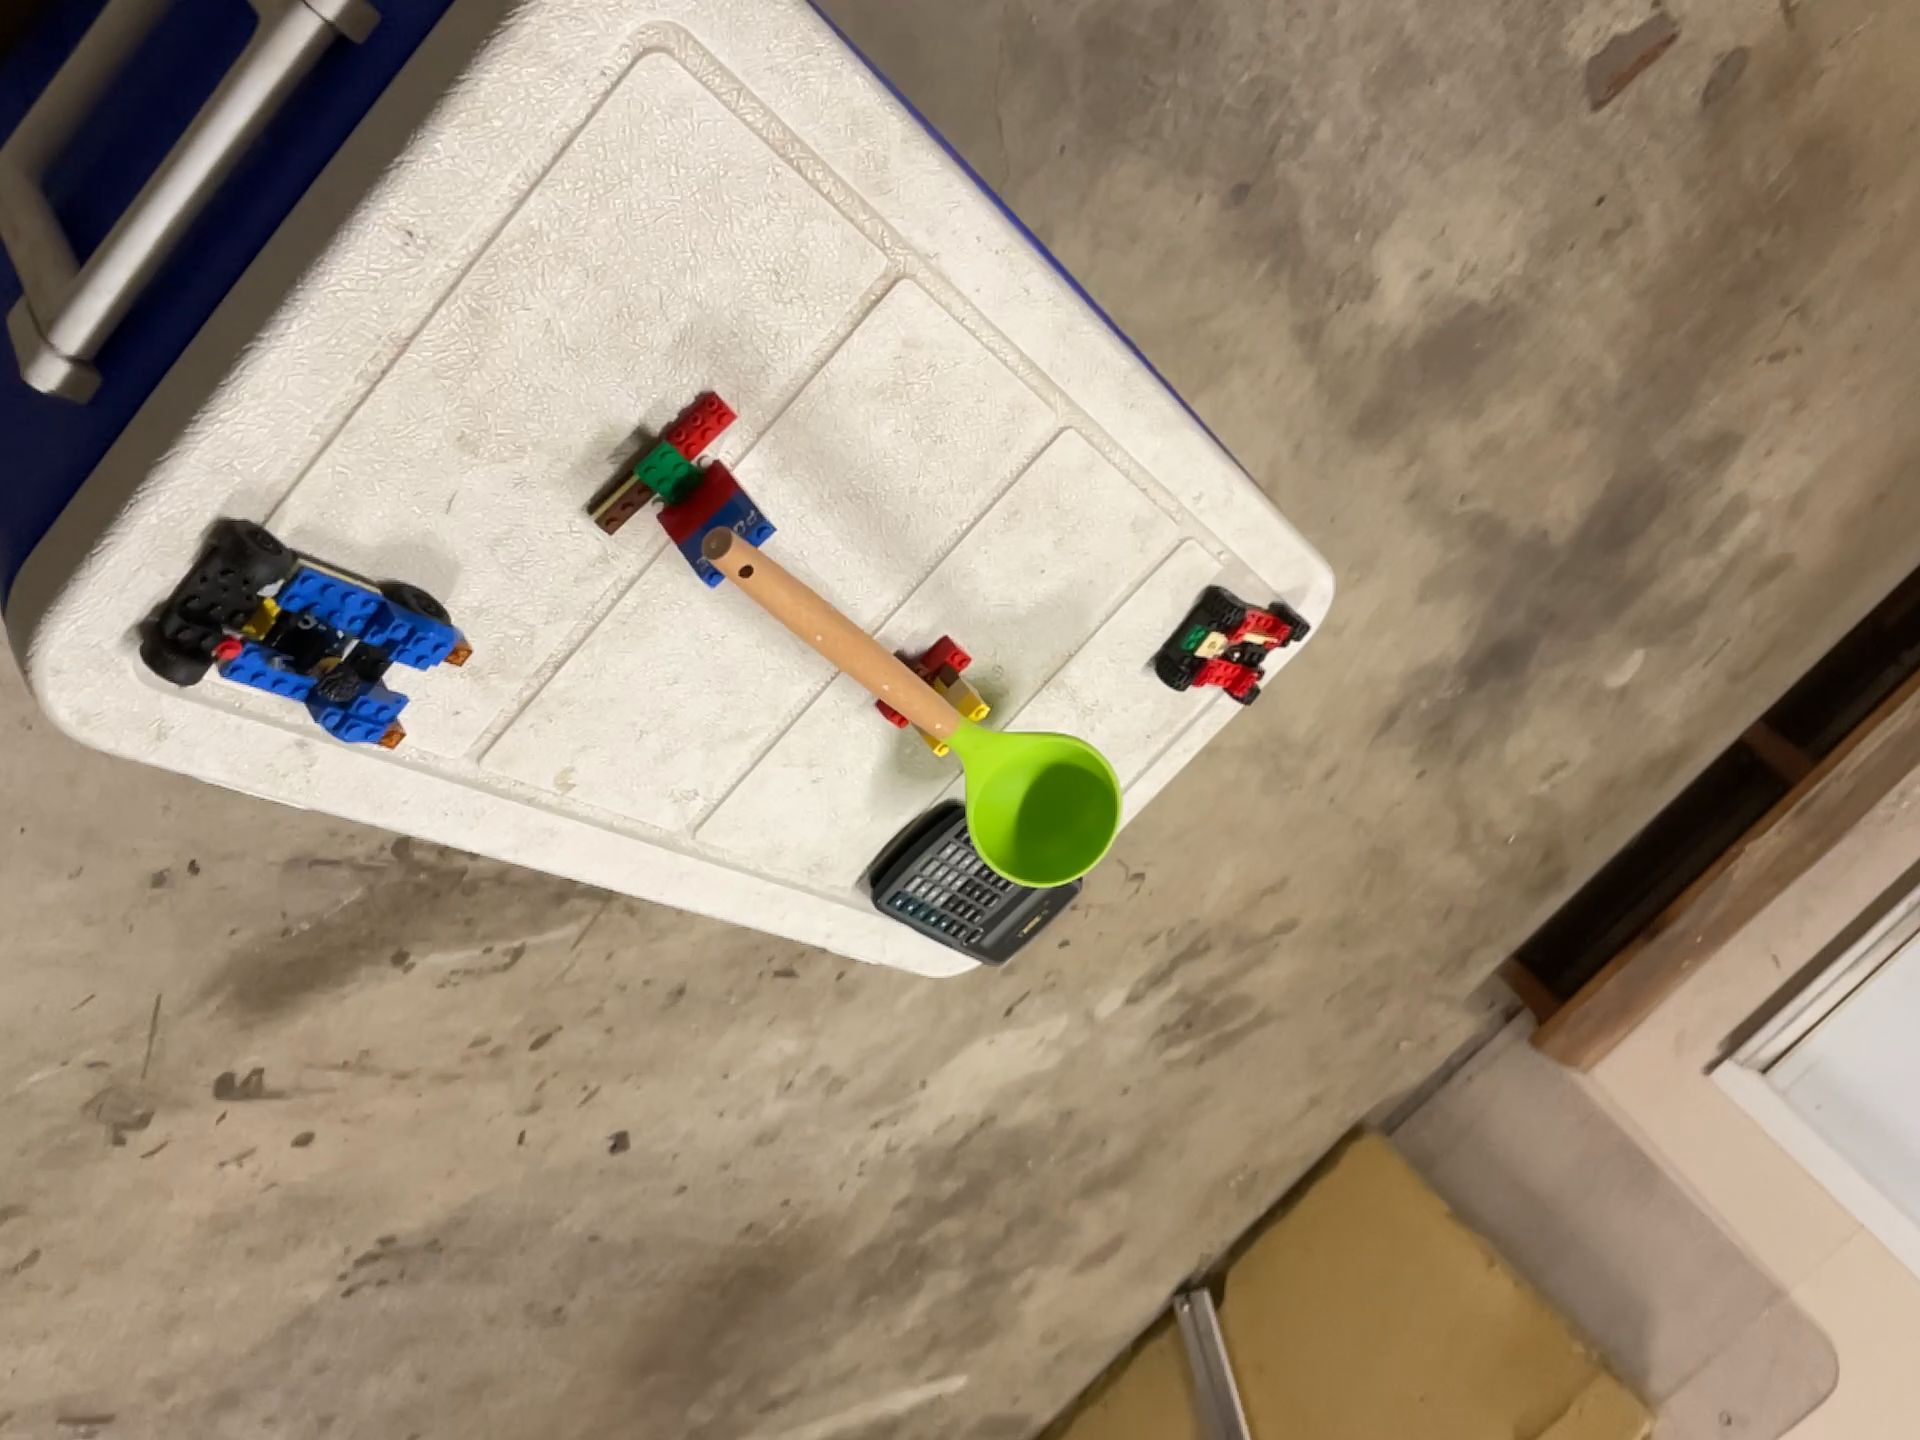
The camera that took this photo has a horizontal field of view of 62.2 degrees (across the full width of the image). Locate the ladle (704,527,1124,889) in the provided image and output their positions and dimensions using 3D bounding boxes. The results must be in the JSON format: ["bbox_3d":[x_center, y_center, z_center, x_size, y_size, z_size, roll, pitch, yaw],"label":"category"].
[{"bbox_3d":[-0.011,0.001,0.678,0.078,0.062,0.319,-42,148,5],"label":"ladle"}]
